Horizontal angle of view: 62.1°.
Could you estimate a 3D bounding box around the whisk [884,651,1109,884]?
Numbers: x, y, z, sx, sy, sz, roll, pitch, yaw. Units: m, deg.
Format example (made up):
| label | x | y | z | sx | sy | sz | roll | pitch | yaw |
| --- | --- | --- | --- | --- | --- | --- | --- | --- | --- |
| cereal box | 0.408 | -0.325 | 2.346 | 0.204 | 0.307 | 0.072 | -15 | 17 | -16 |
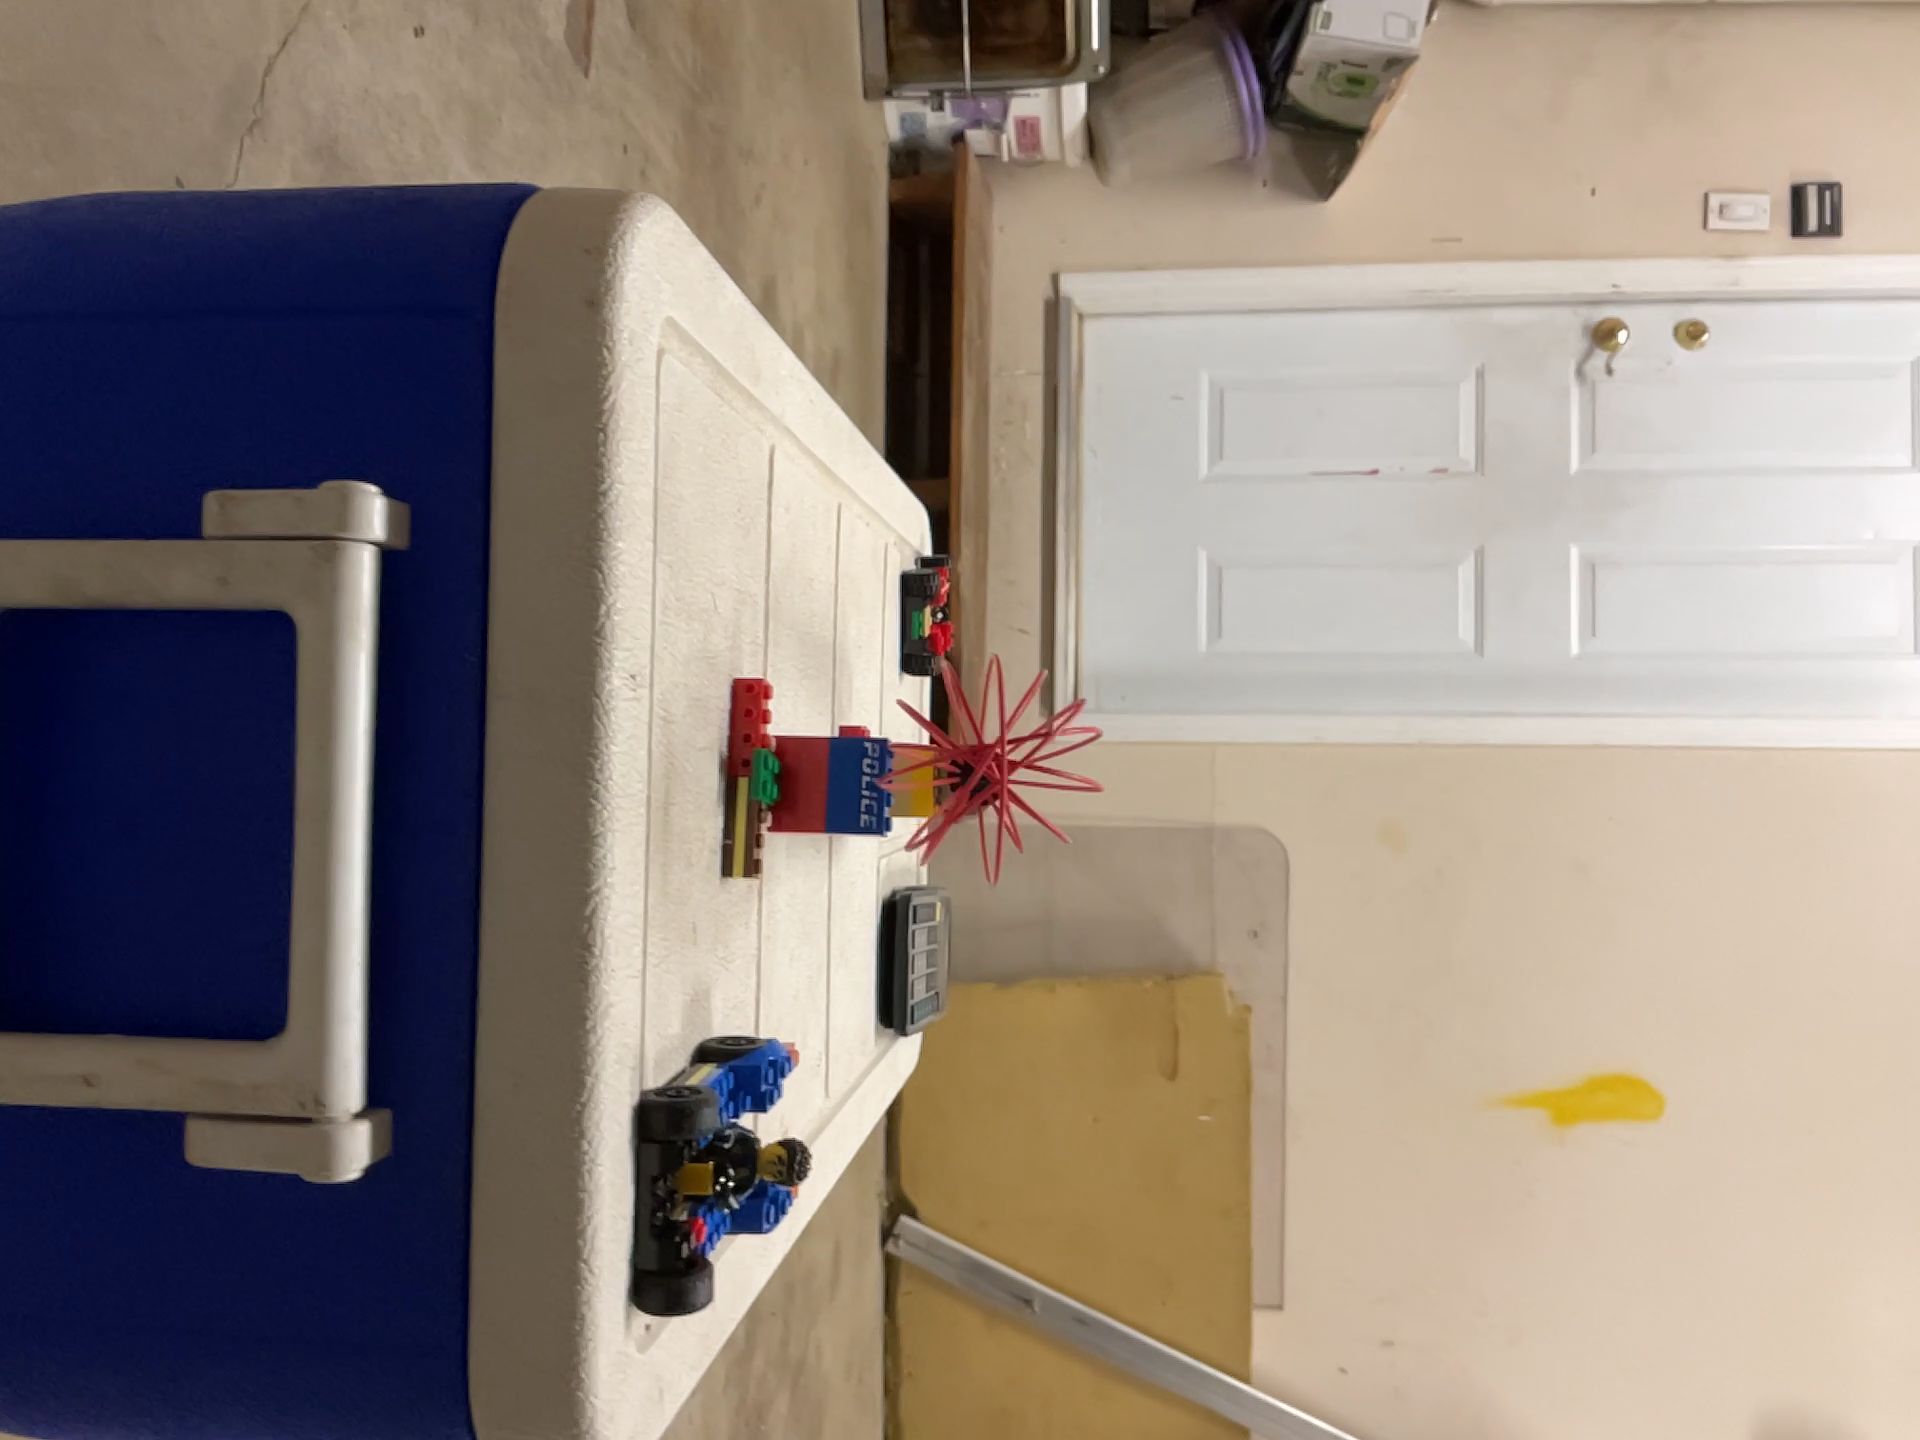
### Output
| label | x | y | z | sx | sy | sz | roll | pitch | yaw |
| --- | --- | --- | --- | --- | --- | --- | --- | --- | --- |
| whisk | 0.007 | 0.020 | 0.585 | 0.296 | 0.073 | 0.073 | 128 | -40 | -86 |
